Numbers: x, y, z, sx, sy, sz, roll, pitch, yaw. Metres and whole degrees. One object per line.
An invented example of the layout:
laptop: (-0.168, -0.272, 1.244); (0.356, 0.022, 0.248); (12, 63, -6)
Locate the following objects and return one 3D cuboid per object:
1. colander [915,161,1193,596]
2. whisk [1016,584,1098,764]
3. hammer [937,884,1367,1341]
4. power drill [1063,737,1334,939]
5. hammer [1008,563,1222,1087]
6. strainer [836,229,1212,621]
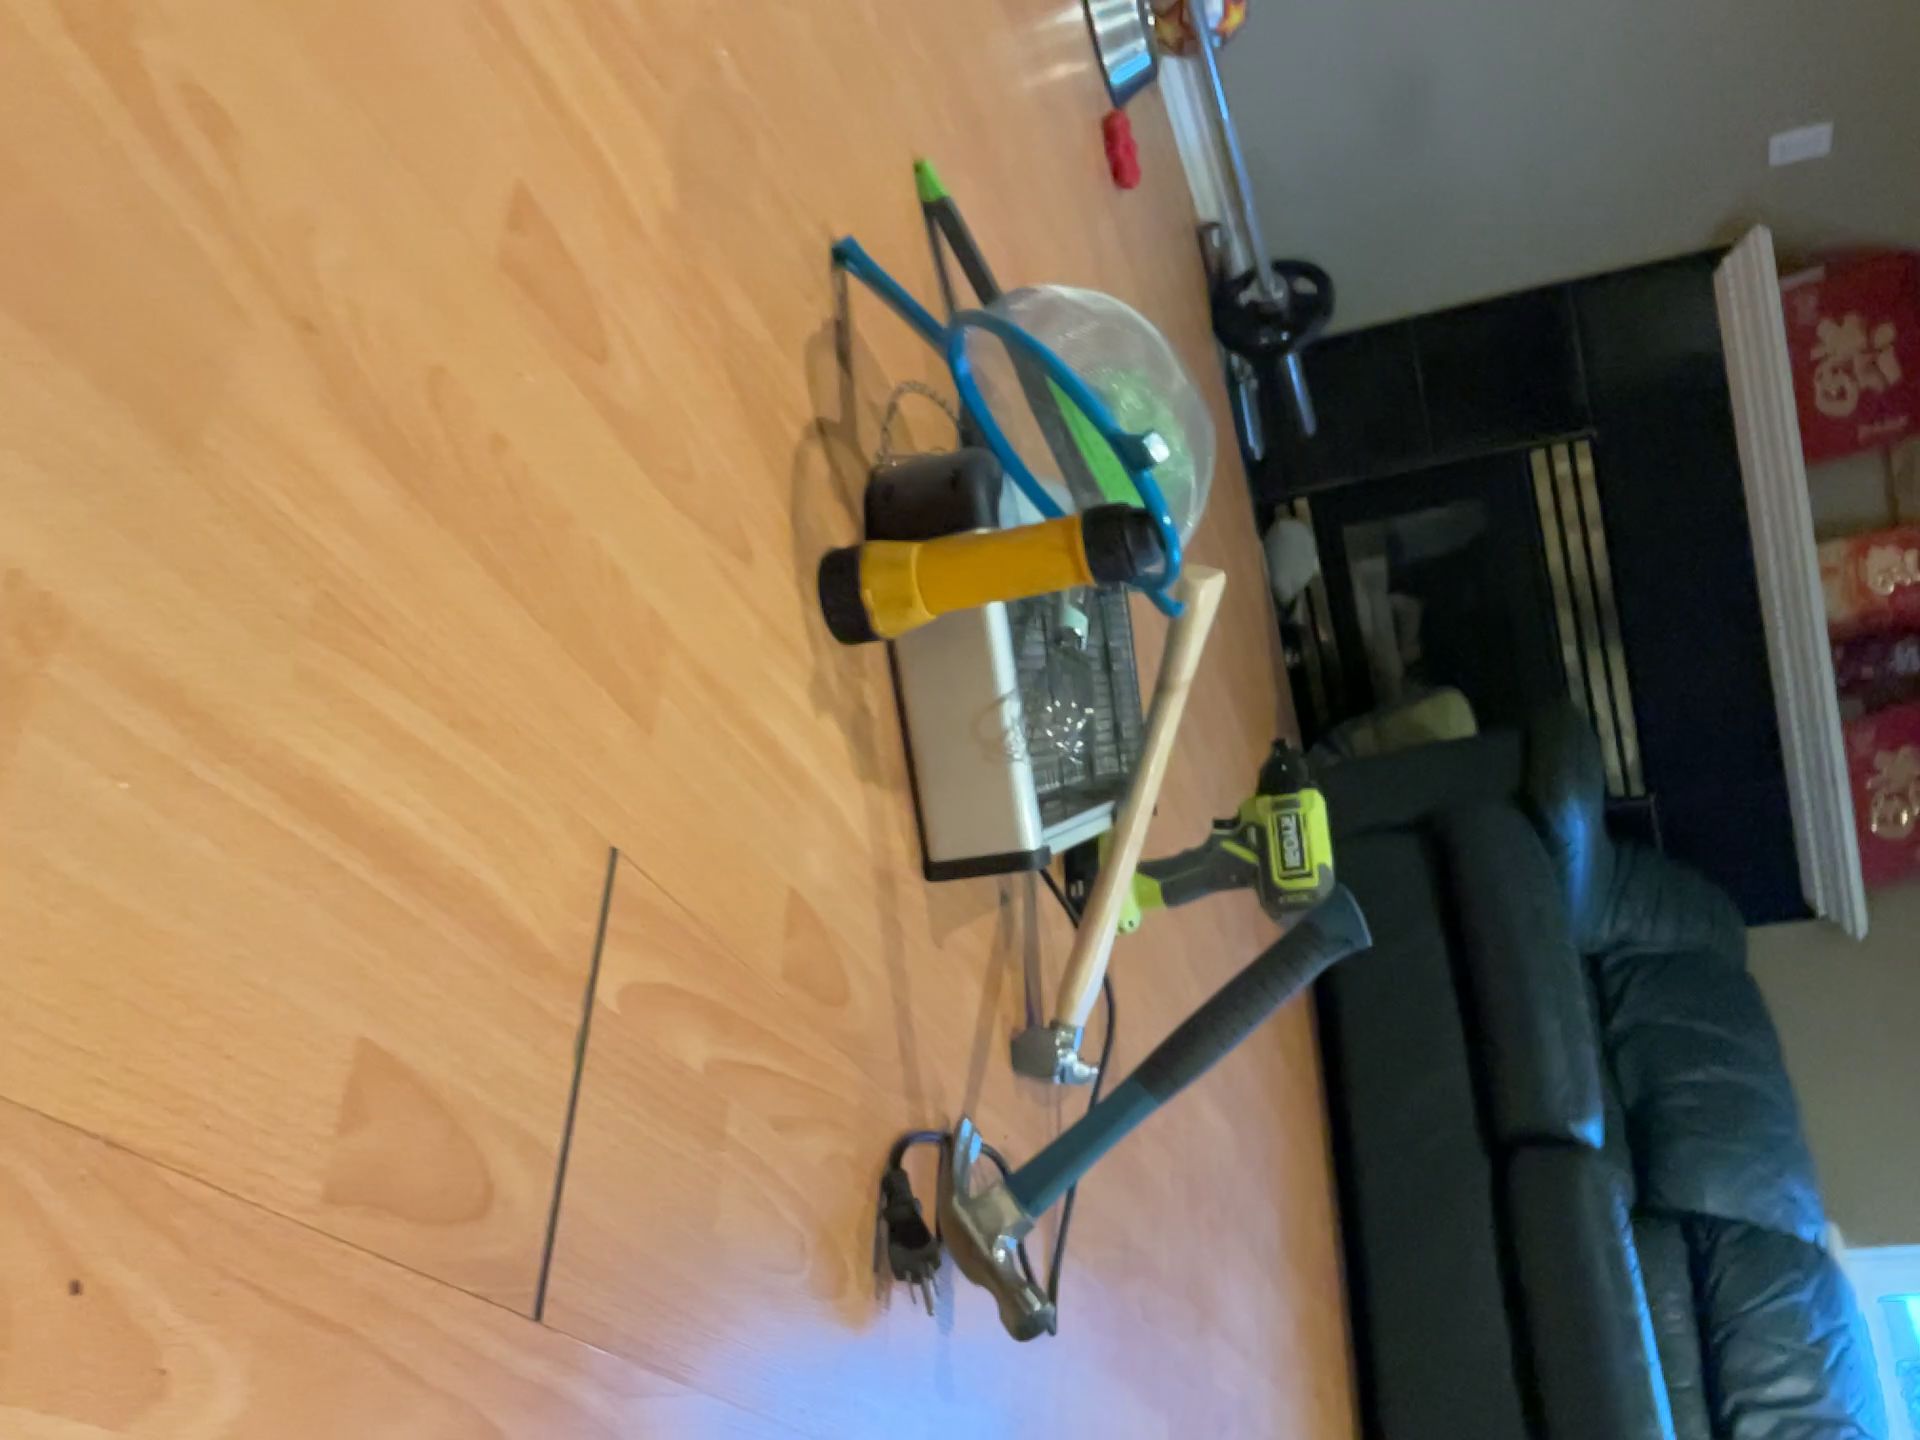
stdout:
colander: (0.091, -0.297, 1.323); (0.397, 0.094, 0.204); (61, 12, -3)
whisk: (0.072, -0.049, 1.091); (0.058, 0.059, 0.246); (39, 30, -19)
hammer: (0.124, 0.219, 0.982); (0.128, 0.331, 0.033); (42, -14, 43)
power drill: (0.207, 0.107, 1.396); (0.080, 0.223, 0.171); (54, 31, -55)
hammer: (0.133, 0.079, 1.236); (0.146, 0.038, 0.410); (33, 73, -66)
strainer: (0.050, -0.230, 1.016); (0.340, 0.095, 0.210); (49, -9, 26)
